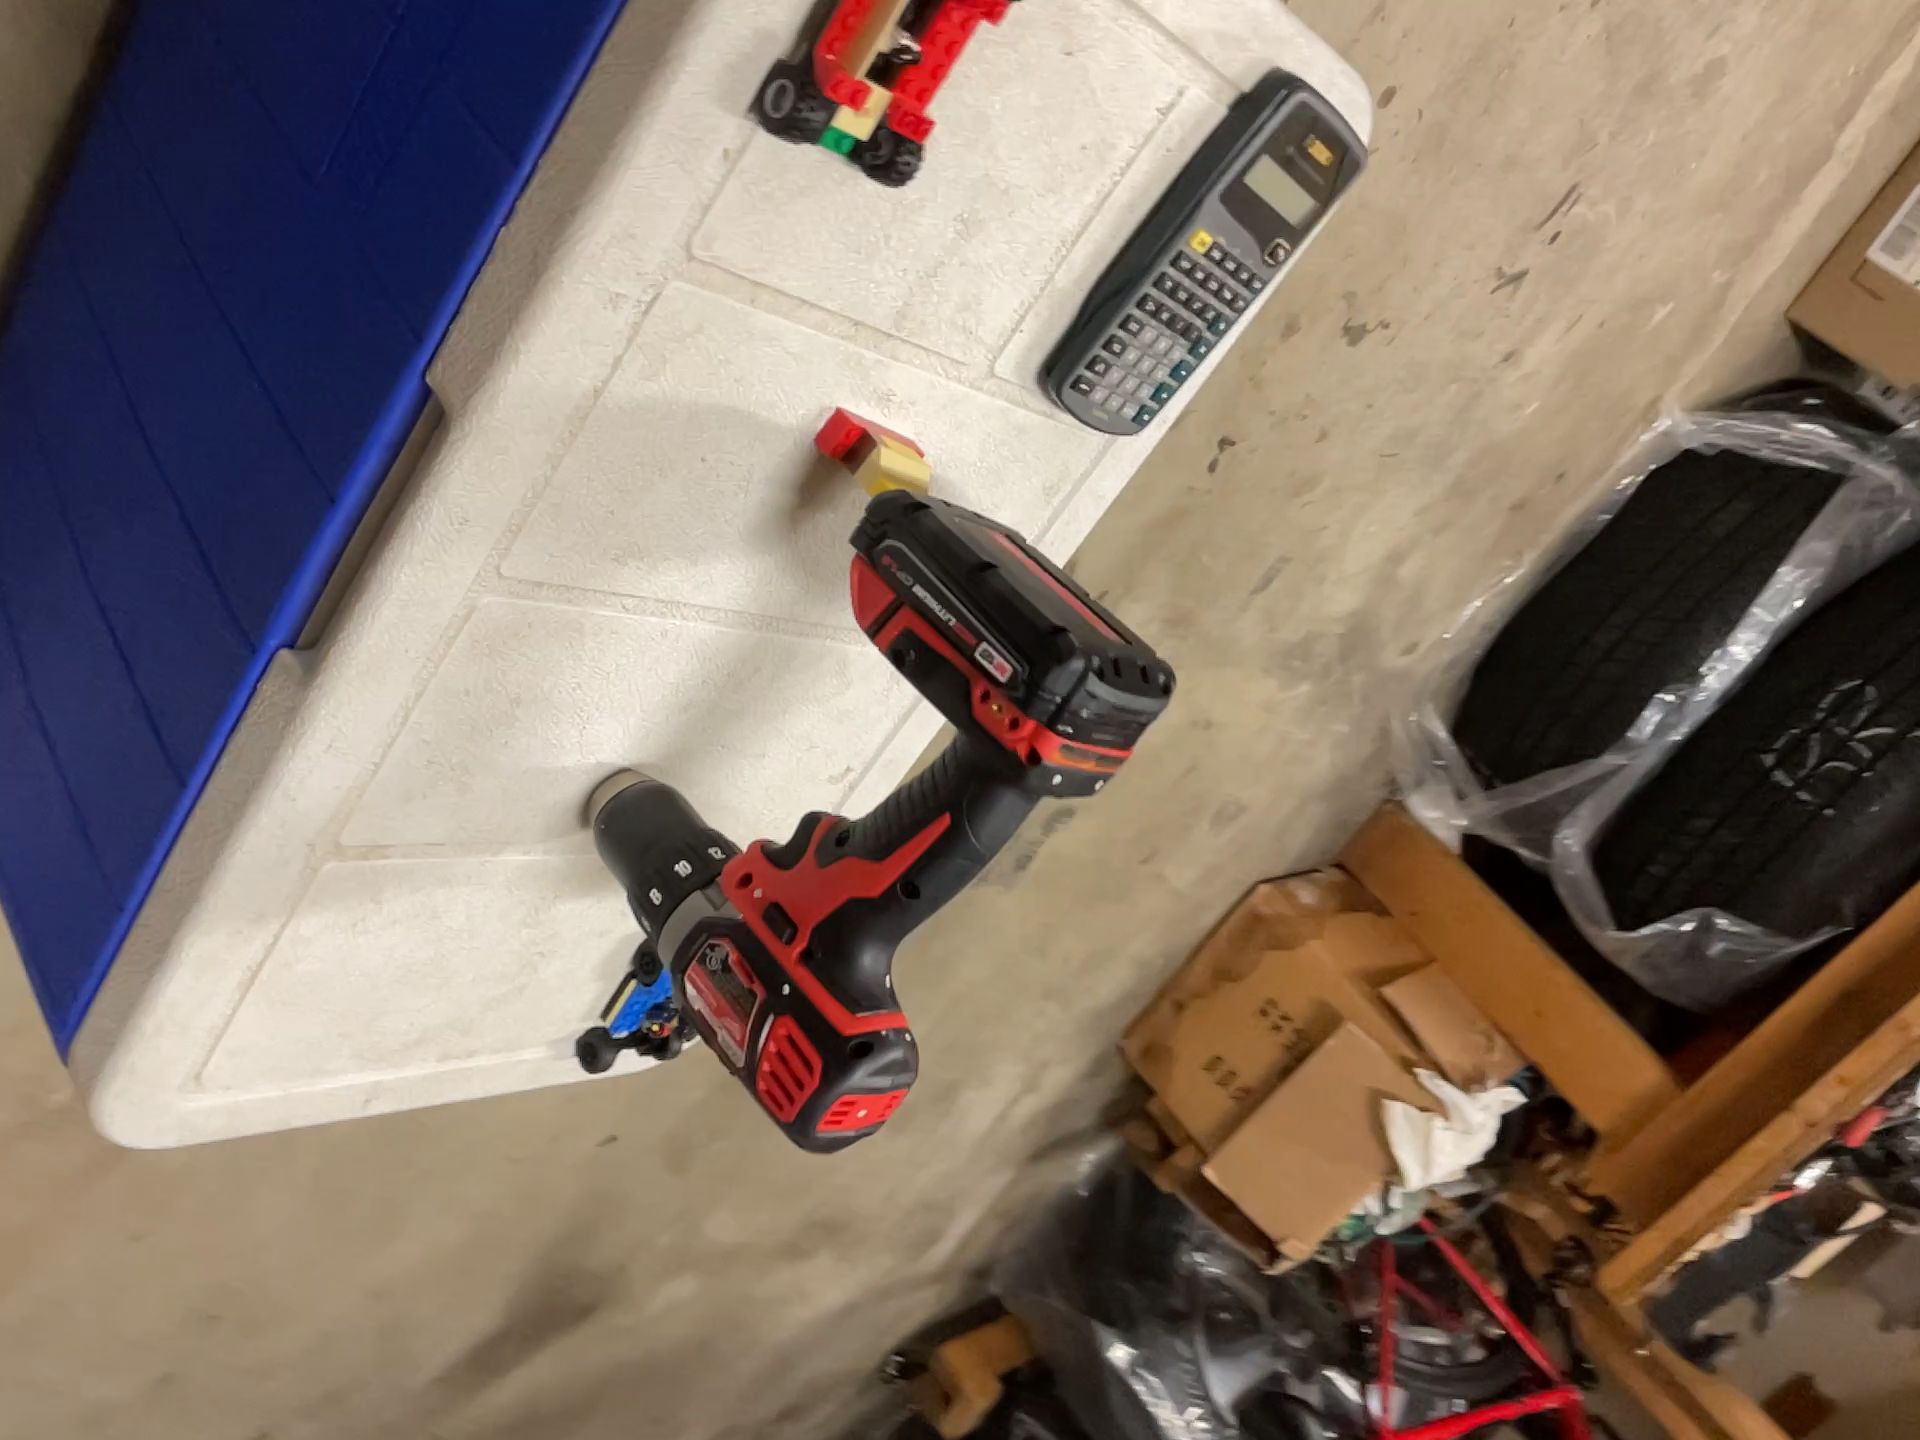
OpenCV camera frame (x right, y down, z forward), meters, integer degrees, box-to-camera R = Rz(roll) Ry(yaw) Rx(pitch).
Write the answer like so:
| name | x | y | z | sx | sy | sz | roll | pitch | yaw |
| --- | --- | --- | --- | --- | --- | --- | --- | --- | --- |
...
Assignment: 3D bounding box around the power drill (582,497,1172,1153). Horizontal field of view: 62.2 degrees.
| name | x | y | z | sx | sy | sz | roll | pitch | yaw |
| --- | --- | --- | --- | --- | --- | --- | --- | --- | --- |
| power drill | -0.048 | 0.026 | 0.618 | 0.226 | 0.188 | 0.080 | -55 | 150 | 16 |
